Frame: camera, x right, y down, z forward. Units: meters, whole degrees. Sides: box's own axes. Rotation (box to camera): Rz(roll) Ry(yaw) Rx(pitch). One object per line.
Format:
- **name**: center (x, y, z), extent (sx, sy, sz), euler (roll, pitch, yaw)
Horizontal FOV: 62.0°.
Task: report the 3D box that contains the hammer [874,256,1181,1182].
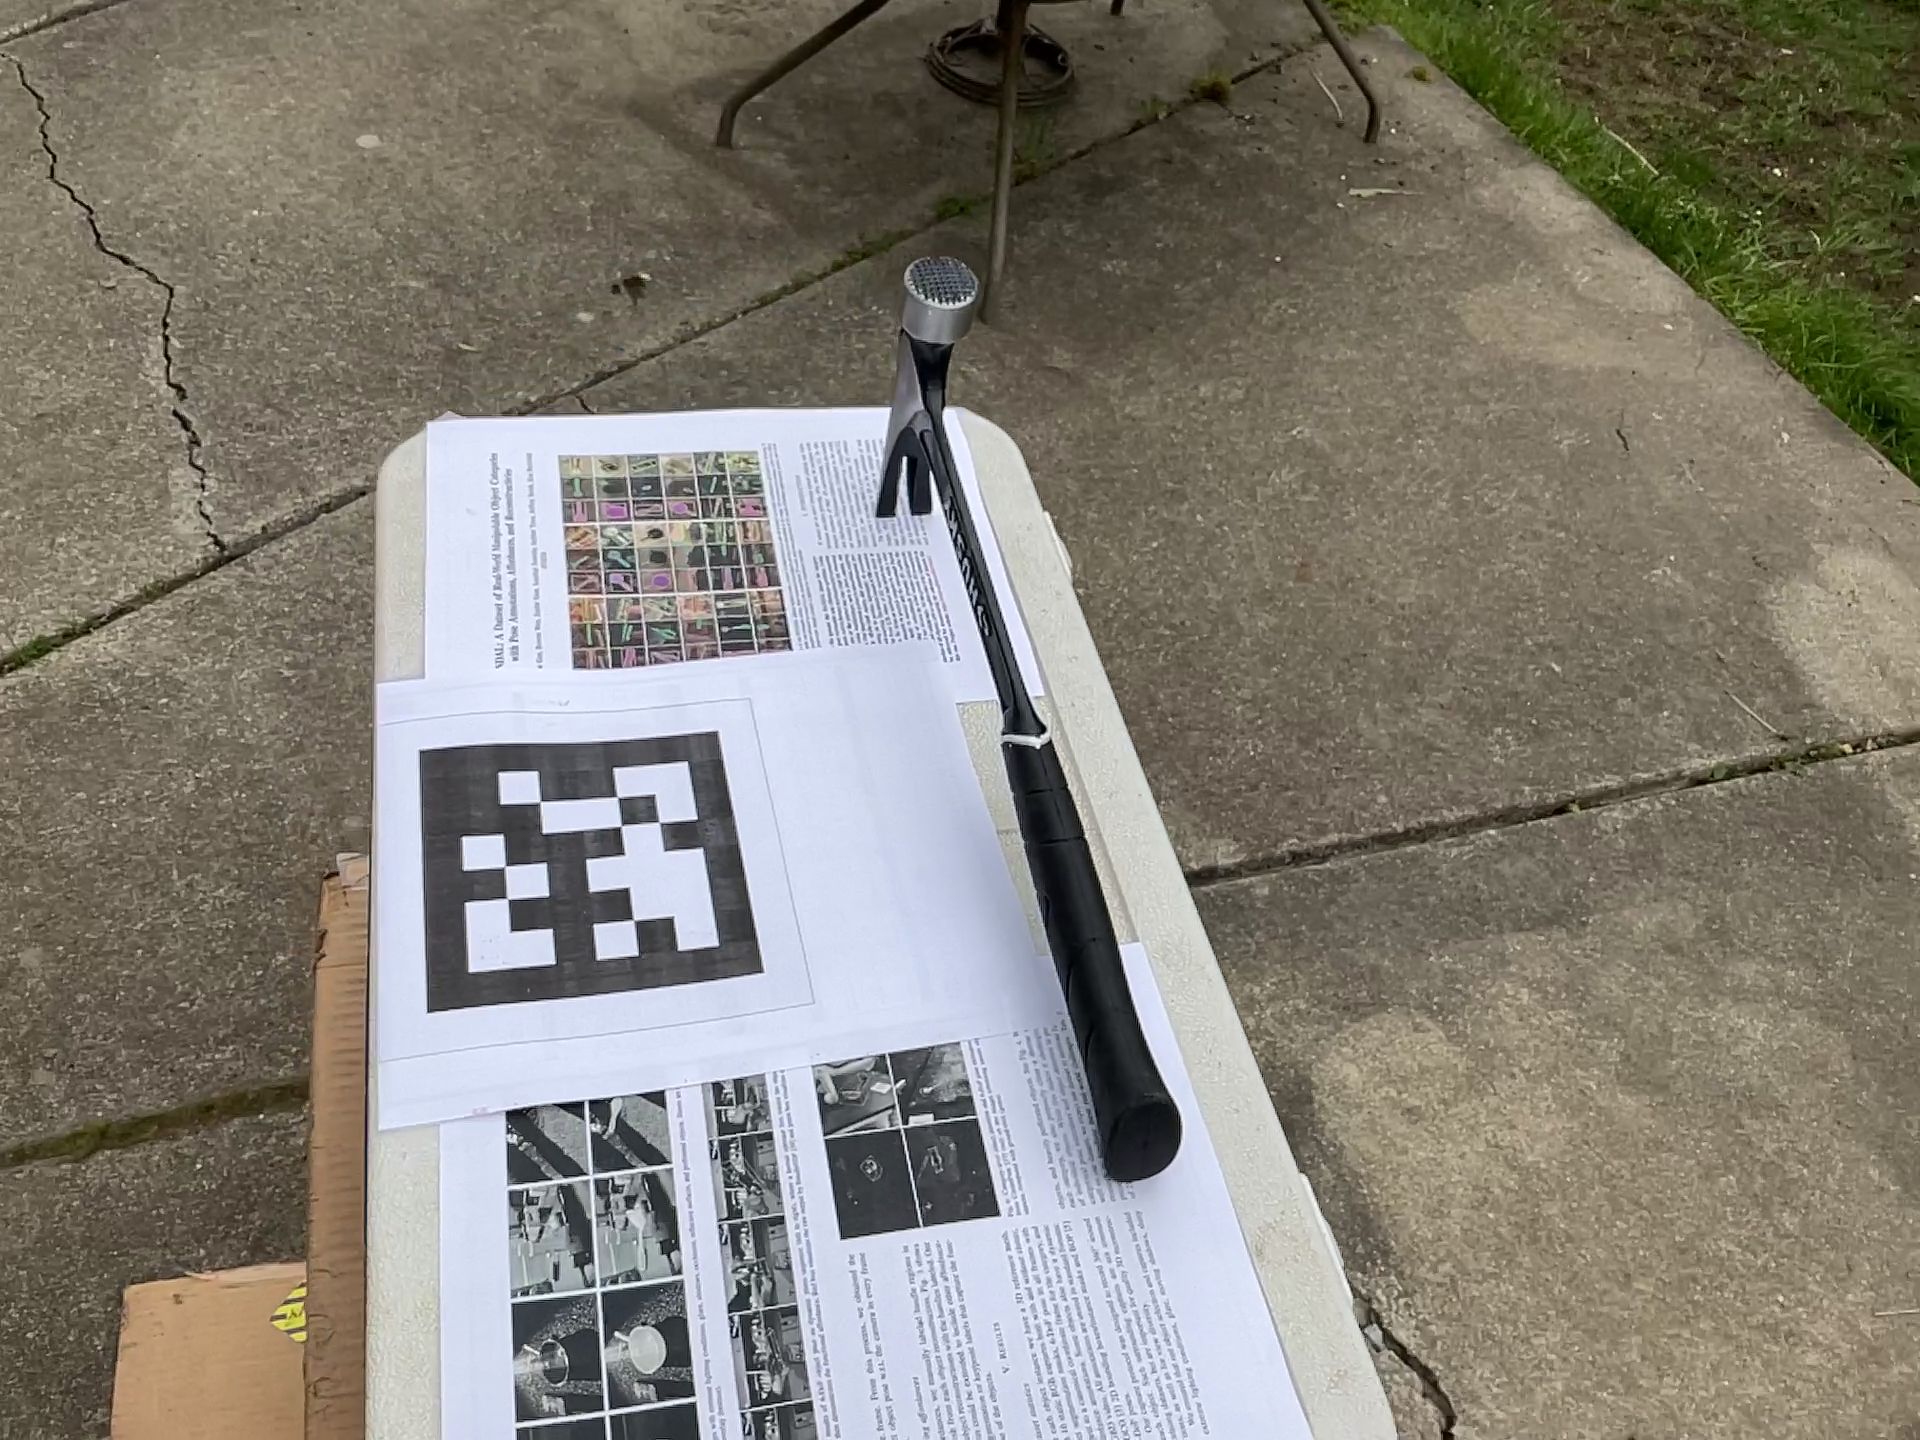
- **hammer**: center (0.021, -0.005, 0.692), extent (0.036, 0.149, 0.409), euler (-6, 59, -15)
